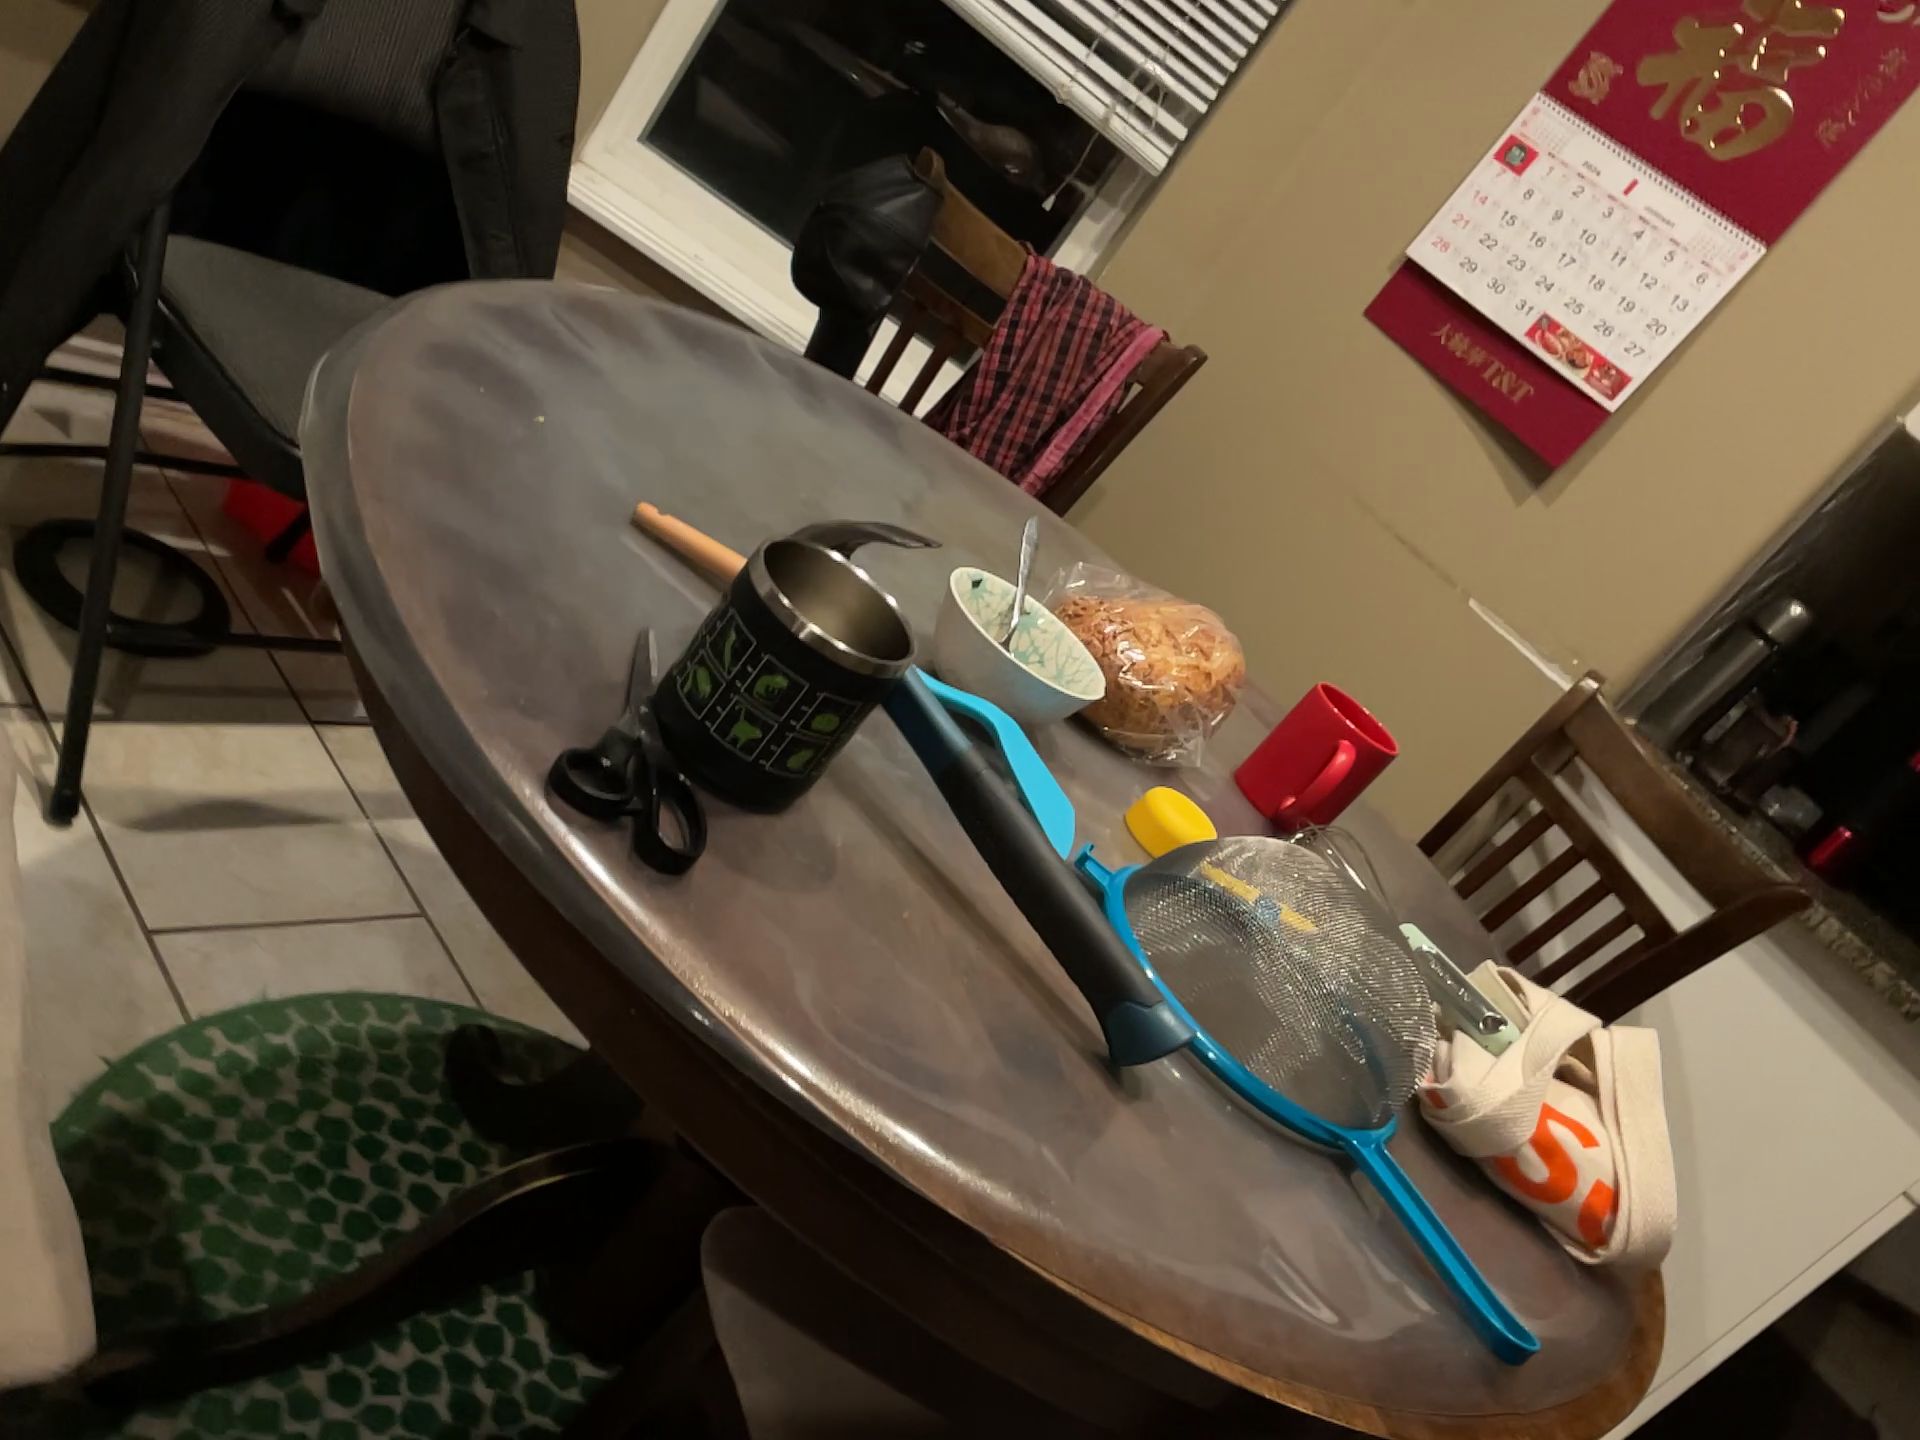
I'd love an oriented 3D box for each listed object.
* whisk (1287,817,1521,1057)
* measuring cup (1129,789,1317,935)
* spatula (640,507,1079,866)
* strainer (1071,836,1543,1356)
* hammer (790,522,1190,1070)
[{"bbox_3d":[0.291,0.140,1.068,0.059,0.058,0.246,61,-4,-37],"label":"whisk"},{"bbox_3d":[0.180,0.094,1.047,0.156,0.029,0.062,31,23,-14],"label":"measuring cup"},{"bbox_3d":[-0.053,-0.025,0.932,0.317,0.044,0.082,33,23,-4],"label":"spatula"},{"bbox_3d":[0.216,0.171,0.866,0.211,0.095,0.341,17,26,-41],"label":"strainer"},{"bbox_3d":[0.001,0.036,0.809,0.331,0.128,0.033,54,28,14],"label":"hammer"}]
